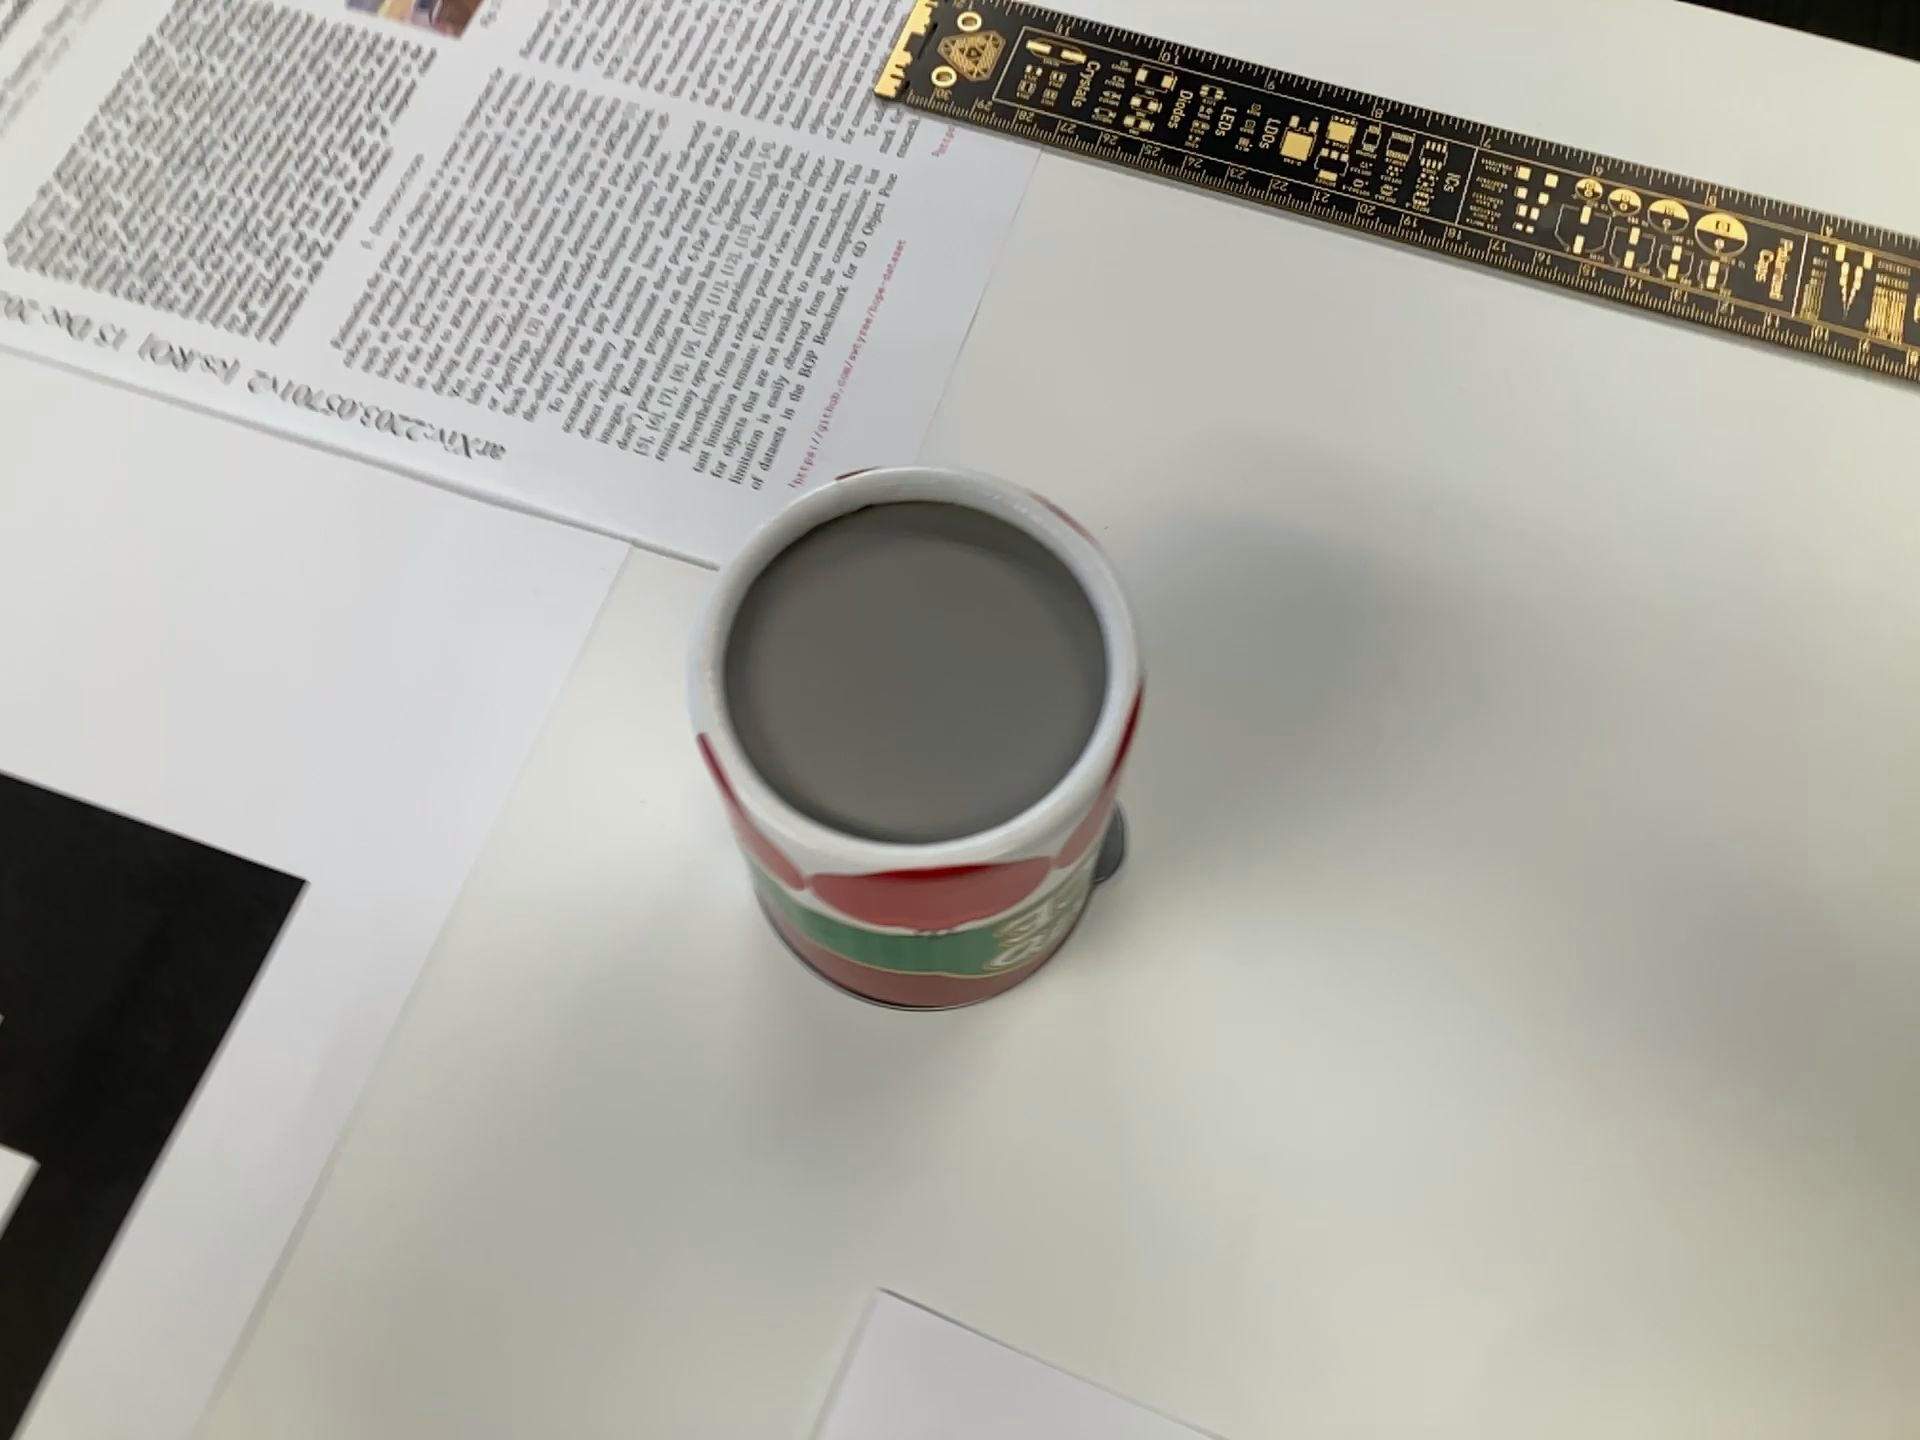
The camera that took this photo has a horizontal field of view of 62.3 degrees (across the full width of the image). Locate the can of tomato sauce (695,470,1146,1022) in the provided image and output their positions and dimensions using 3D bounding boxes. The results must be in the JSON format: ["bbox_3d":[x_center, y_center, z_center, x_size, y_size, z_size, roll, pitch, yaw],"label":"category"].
[{"bbox_3d":[-0.005,0.008,0.265,0.071,0.083,0.071,1,65,-1],"label":"can of tomato sauce"}]
